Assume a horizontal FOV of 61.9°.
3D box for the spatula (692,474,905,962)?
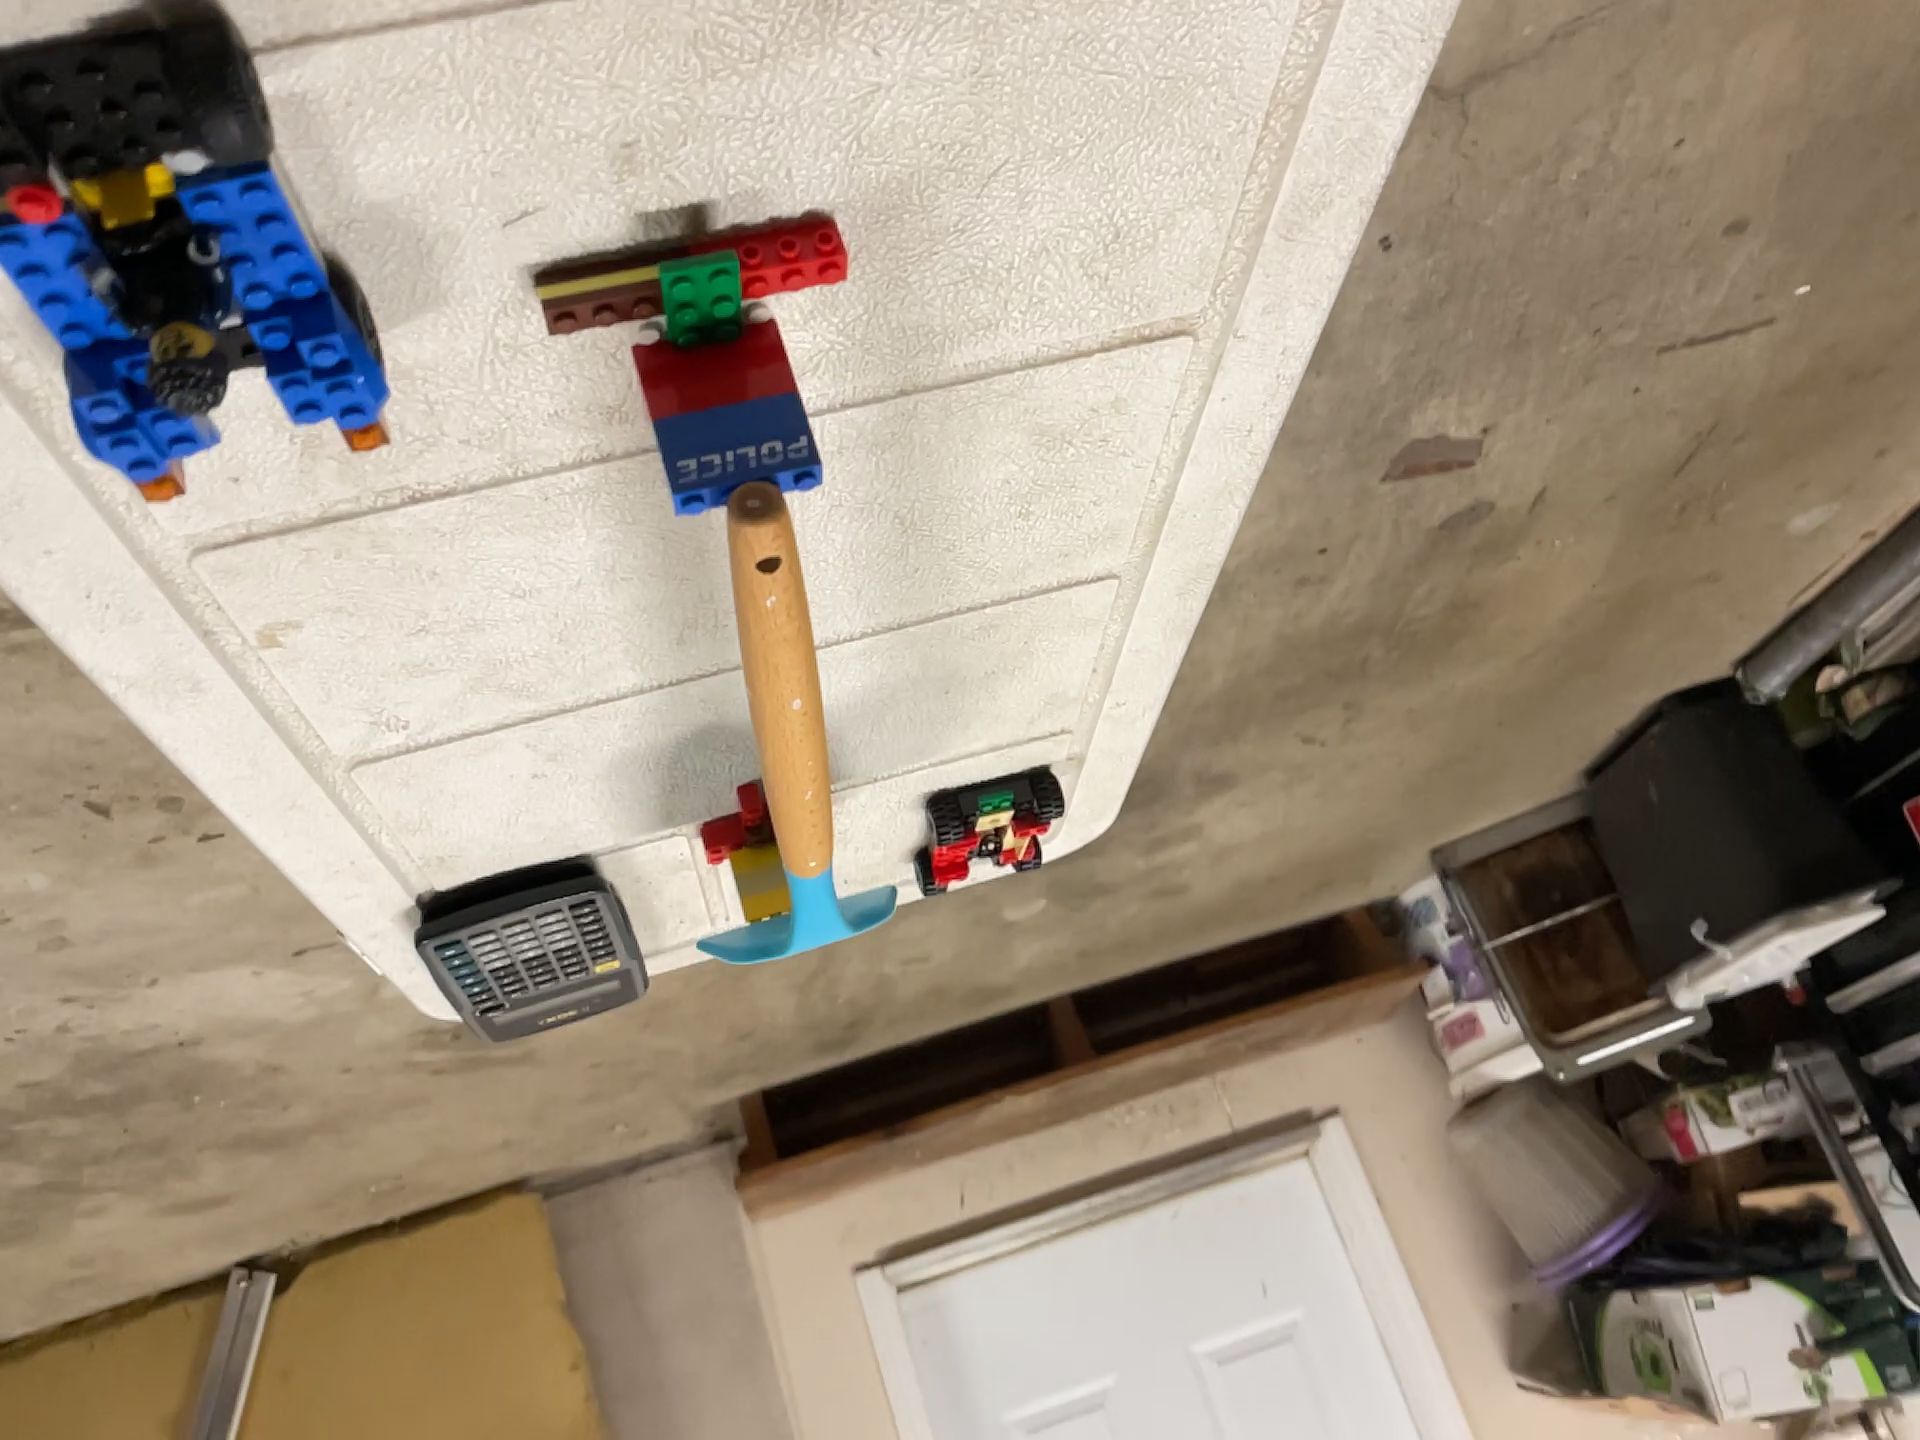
[{"bbox_3d":[-0.050,0.020,0.467,0.082,0.044,0.317,-14,154,-10],"label":"spatula"}]
